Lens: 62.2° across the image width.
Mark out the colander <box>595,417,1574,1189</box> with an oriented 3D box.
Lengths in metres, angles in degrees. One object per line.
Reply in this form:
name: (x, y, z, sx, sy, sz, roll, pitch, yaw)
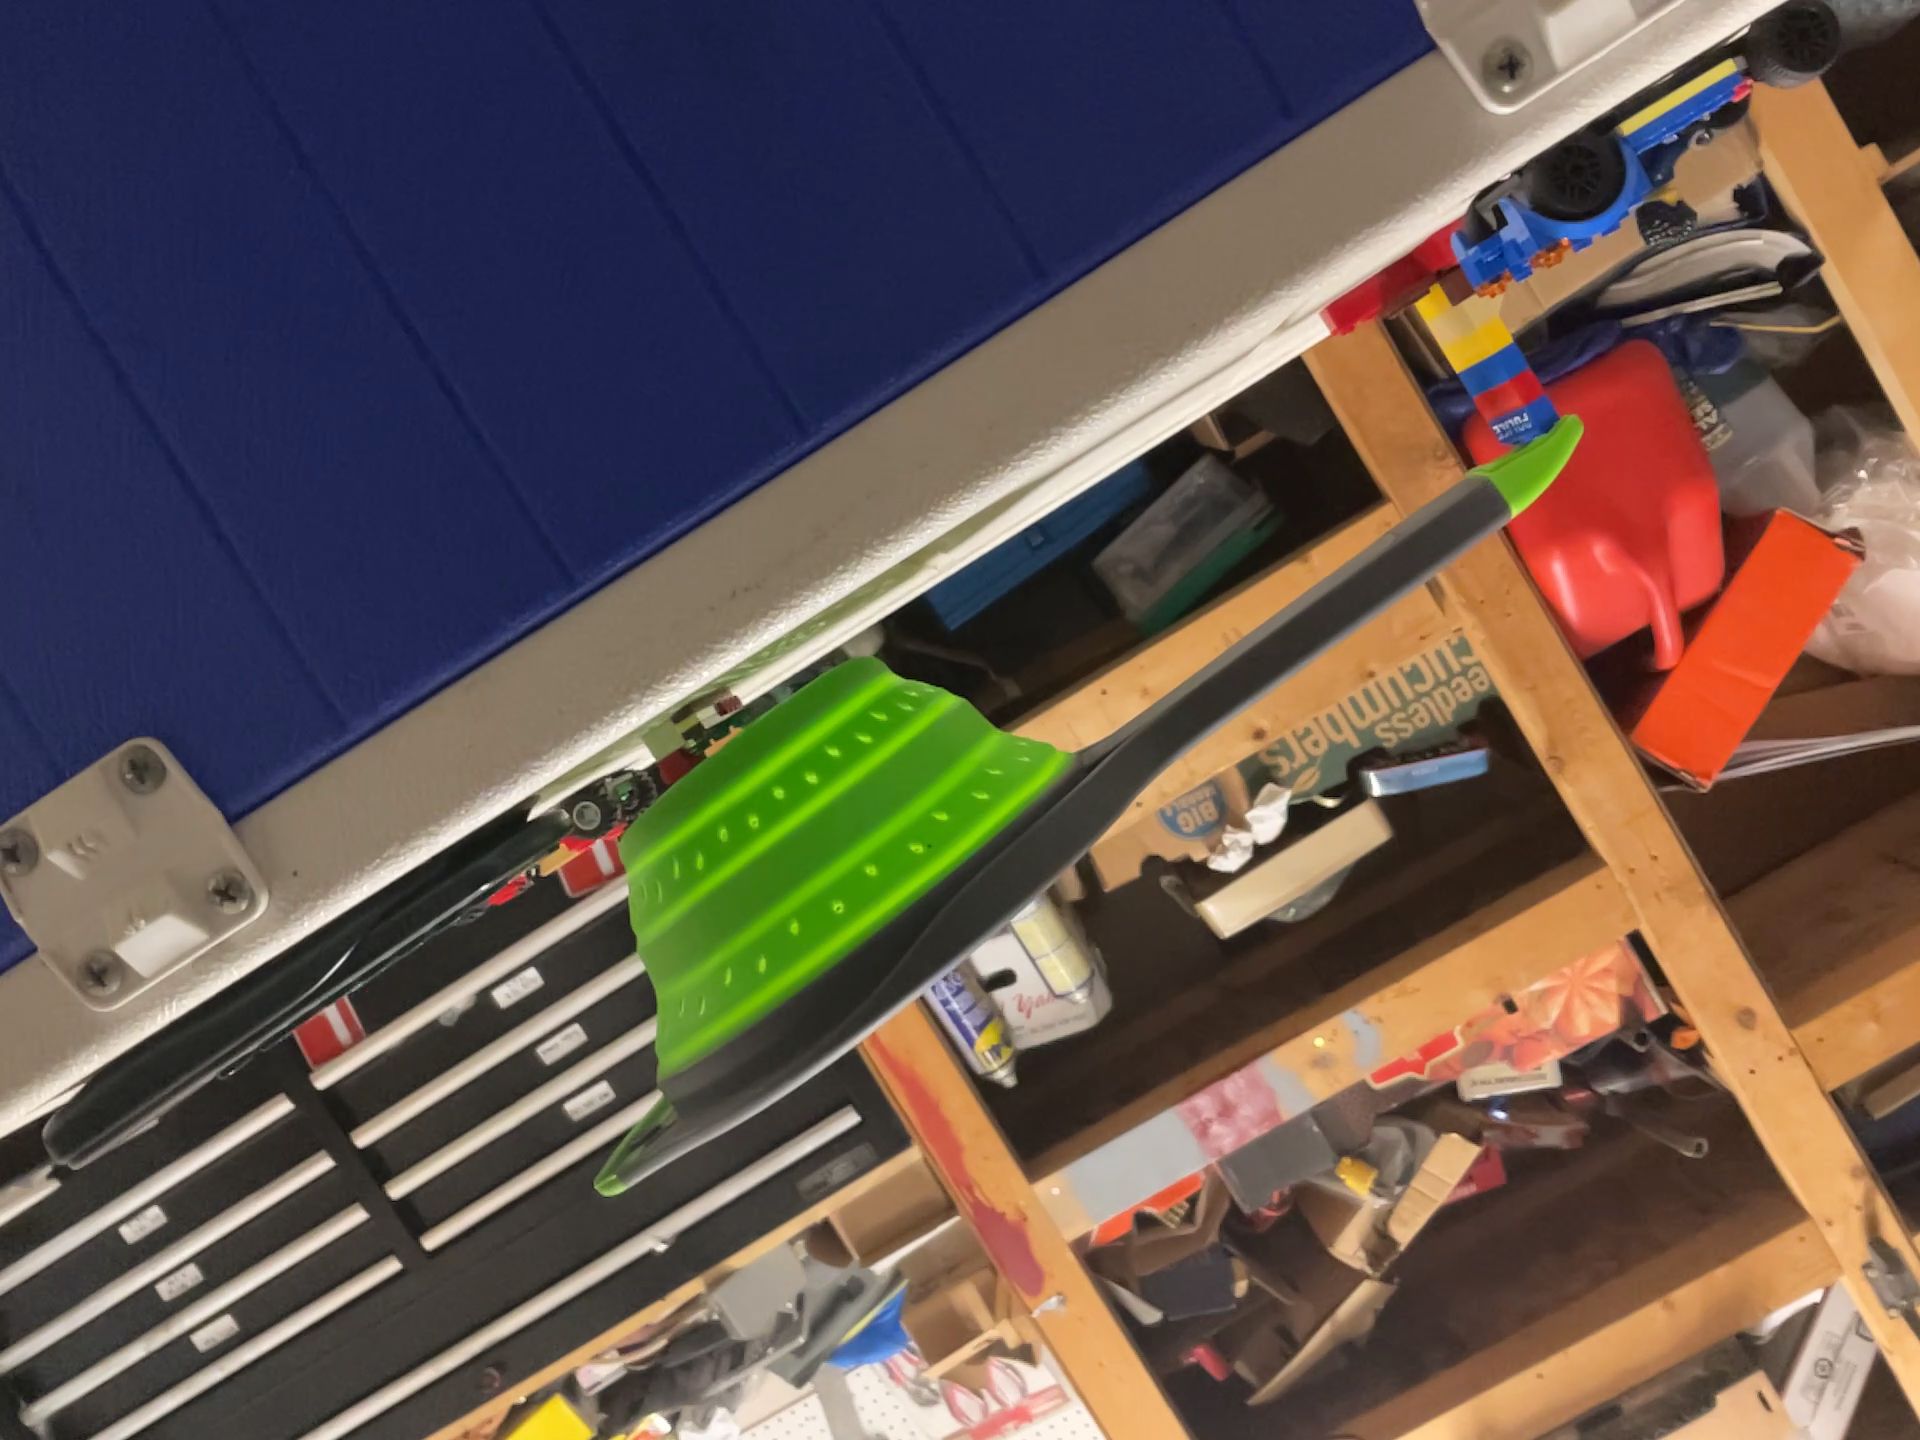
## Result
colander: (0.020, -0.004, 0.537, 0.397, 0.094, 0.204, -37, 180, 3)
